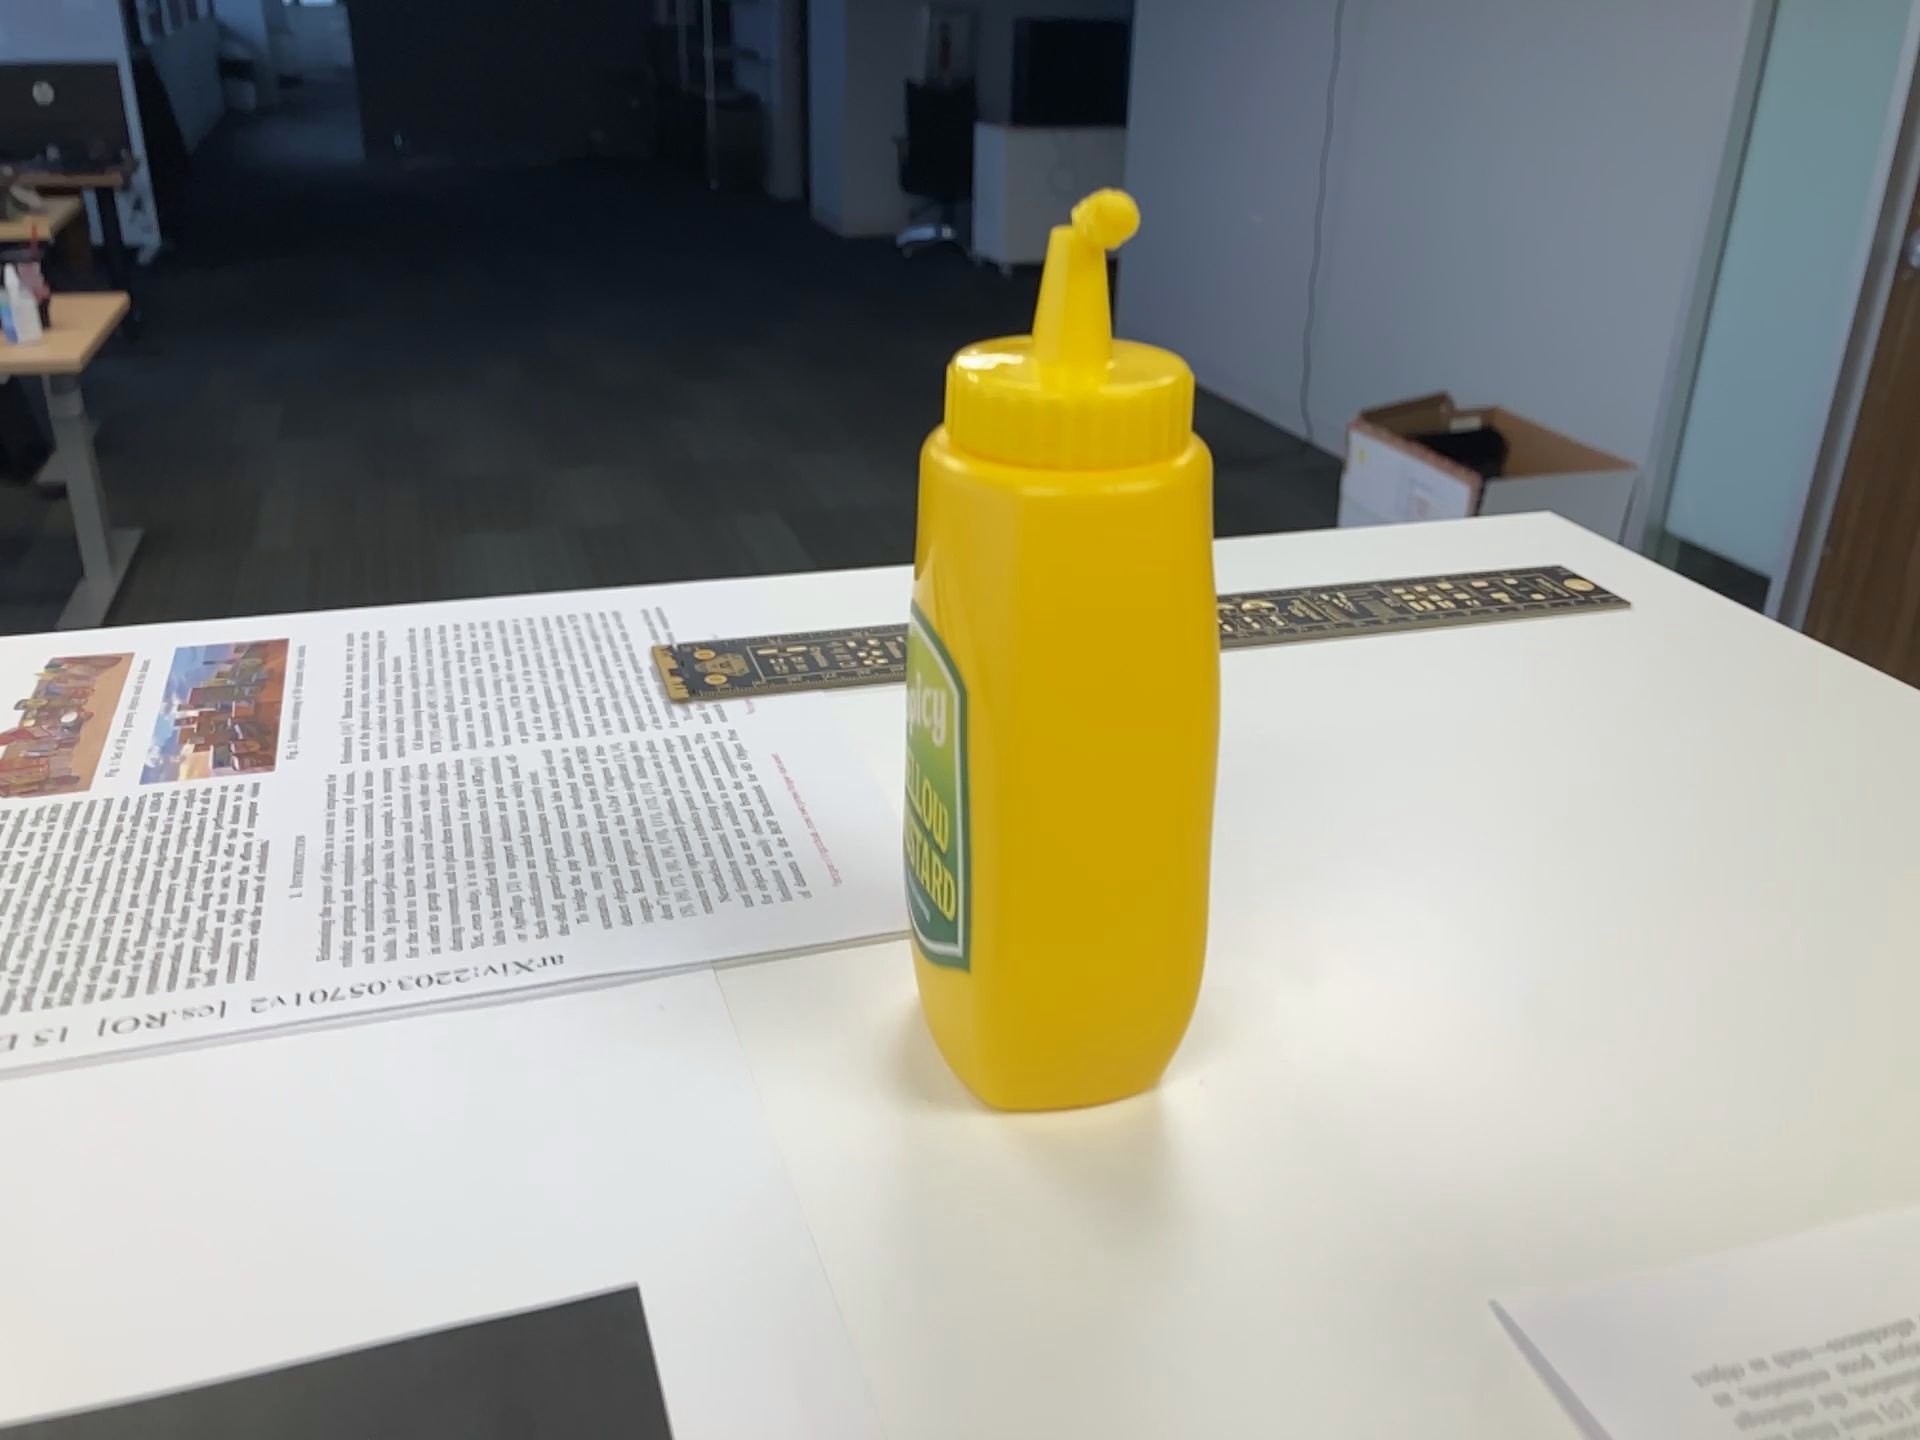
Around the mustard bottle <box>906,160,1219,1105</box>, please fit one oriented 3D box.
[{"bbox_3d":[0.016,-0.012,0.274,0.049,0.160,0.065,-6,25,-14],"label":"mustard bottle"}]
